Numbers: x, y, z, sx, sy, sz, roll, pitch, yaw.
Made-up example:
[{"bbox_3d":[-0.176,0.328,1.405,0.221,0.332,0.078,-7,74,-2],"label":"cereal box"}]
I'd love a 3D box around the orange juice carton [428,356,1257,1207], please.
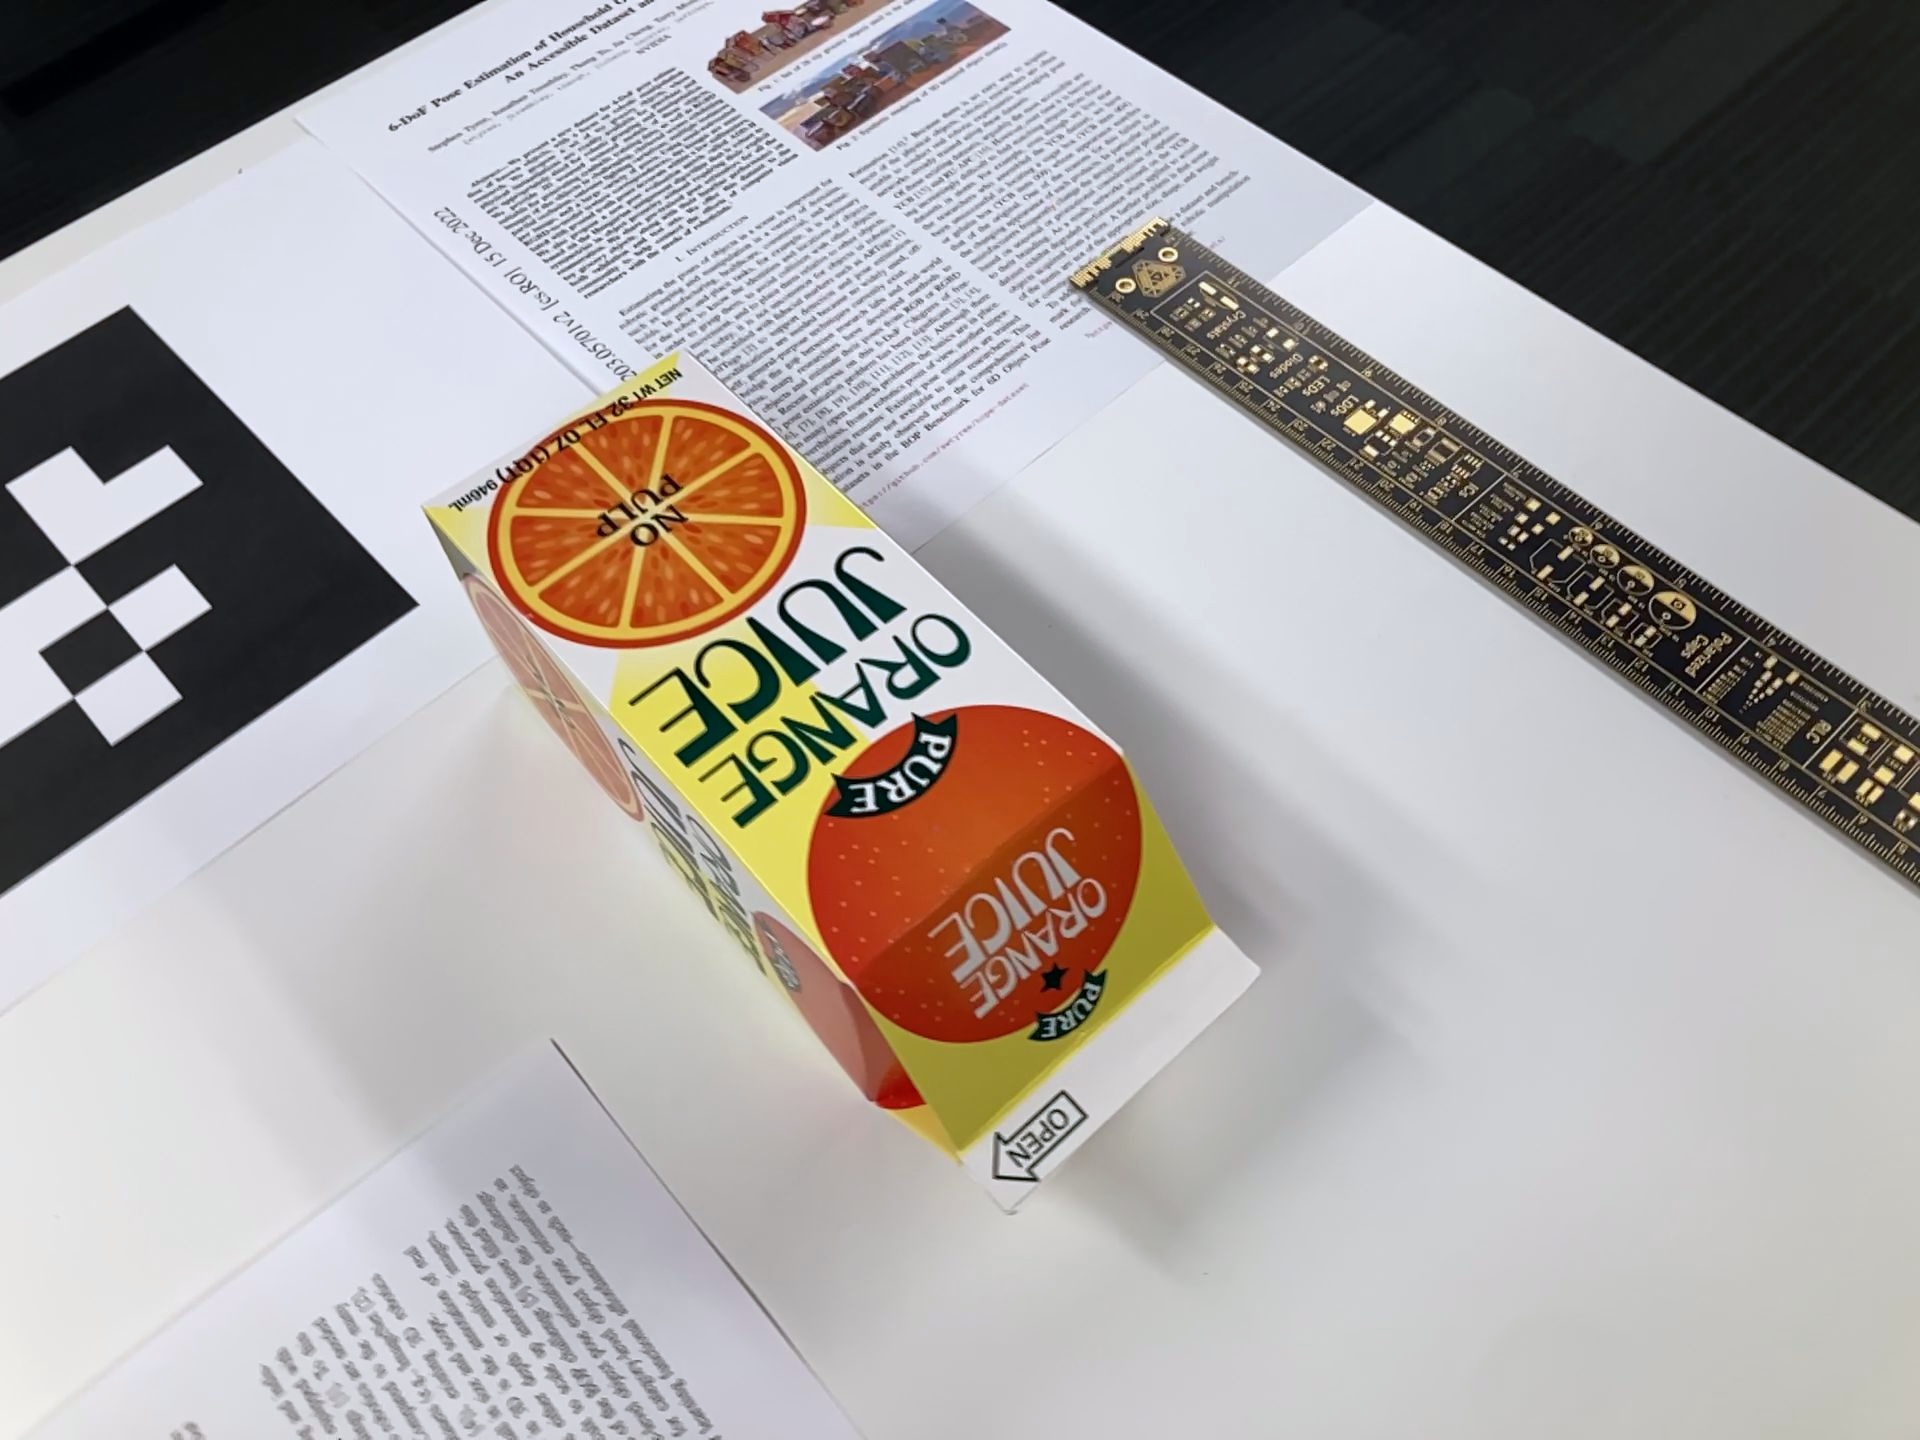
[{"bbox_3d":[-0.028,0.011,0.350,0.072,0.073,0.192,-37,64,-19],"label":"orange juice carton"}]
